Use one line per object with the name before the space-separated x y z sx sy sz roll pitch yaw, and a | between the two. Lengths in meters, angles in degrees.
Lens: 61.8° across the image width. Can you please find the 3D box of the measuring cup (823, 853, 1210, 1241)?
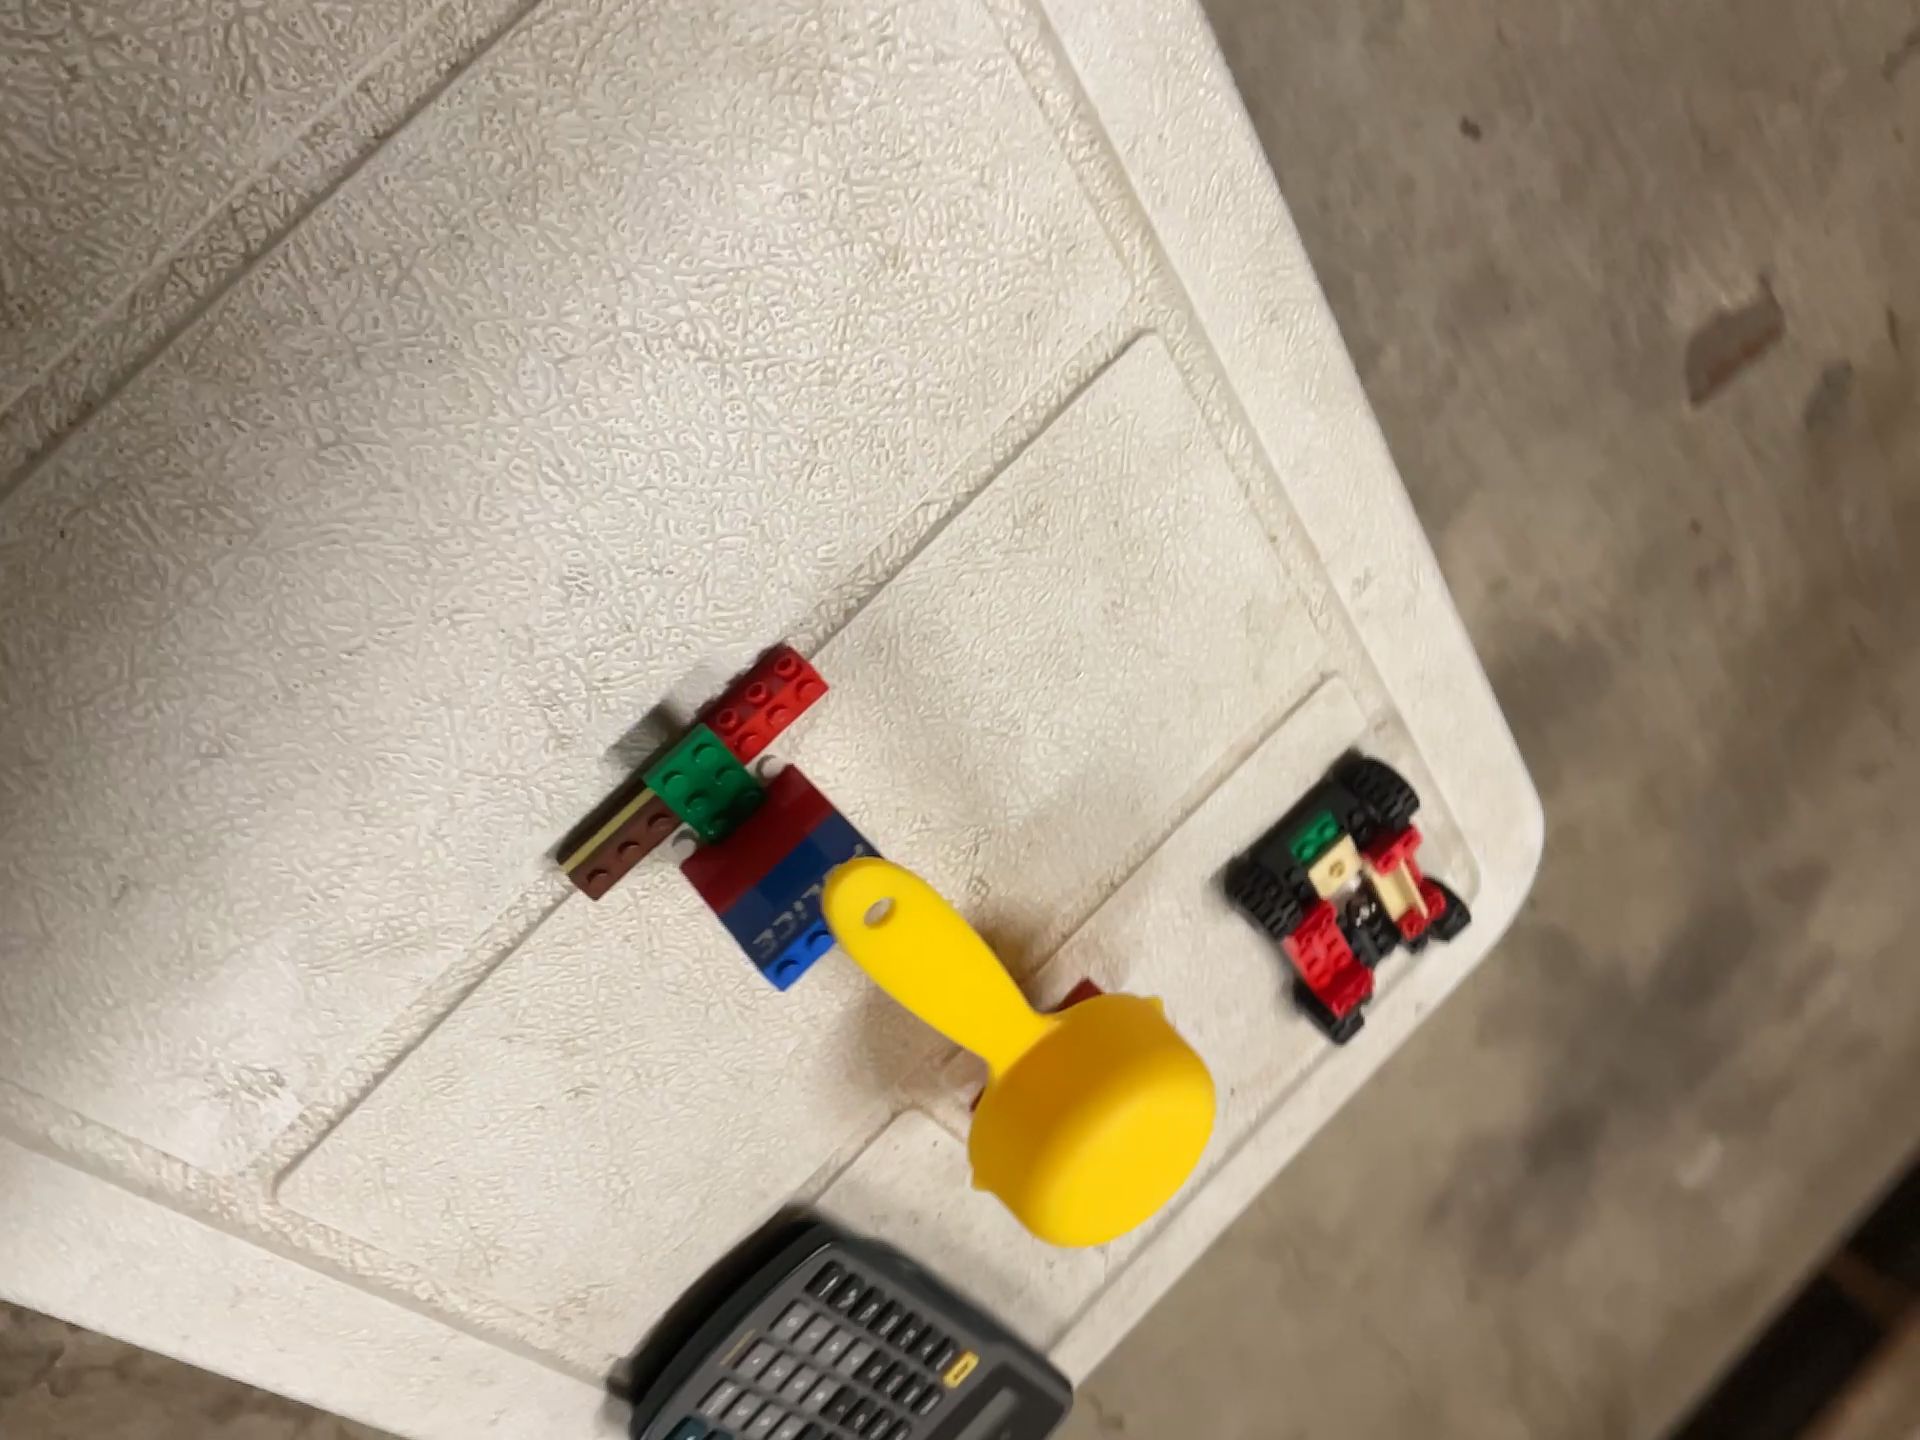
measuring cup | 0.015 0.073 0.348 0.062 0.029 0.156 -44 140 -5
